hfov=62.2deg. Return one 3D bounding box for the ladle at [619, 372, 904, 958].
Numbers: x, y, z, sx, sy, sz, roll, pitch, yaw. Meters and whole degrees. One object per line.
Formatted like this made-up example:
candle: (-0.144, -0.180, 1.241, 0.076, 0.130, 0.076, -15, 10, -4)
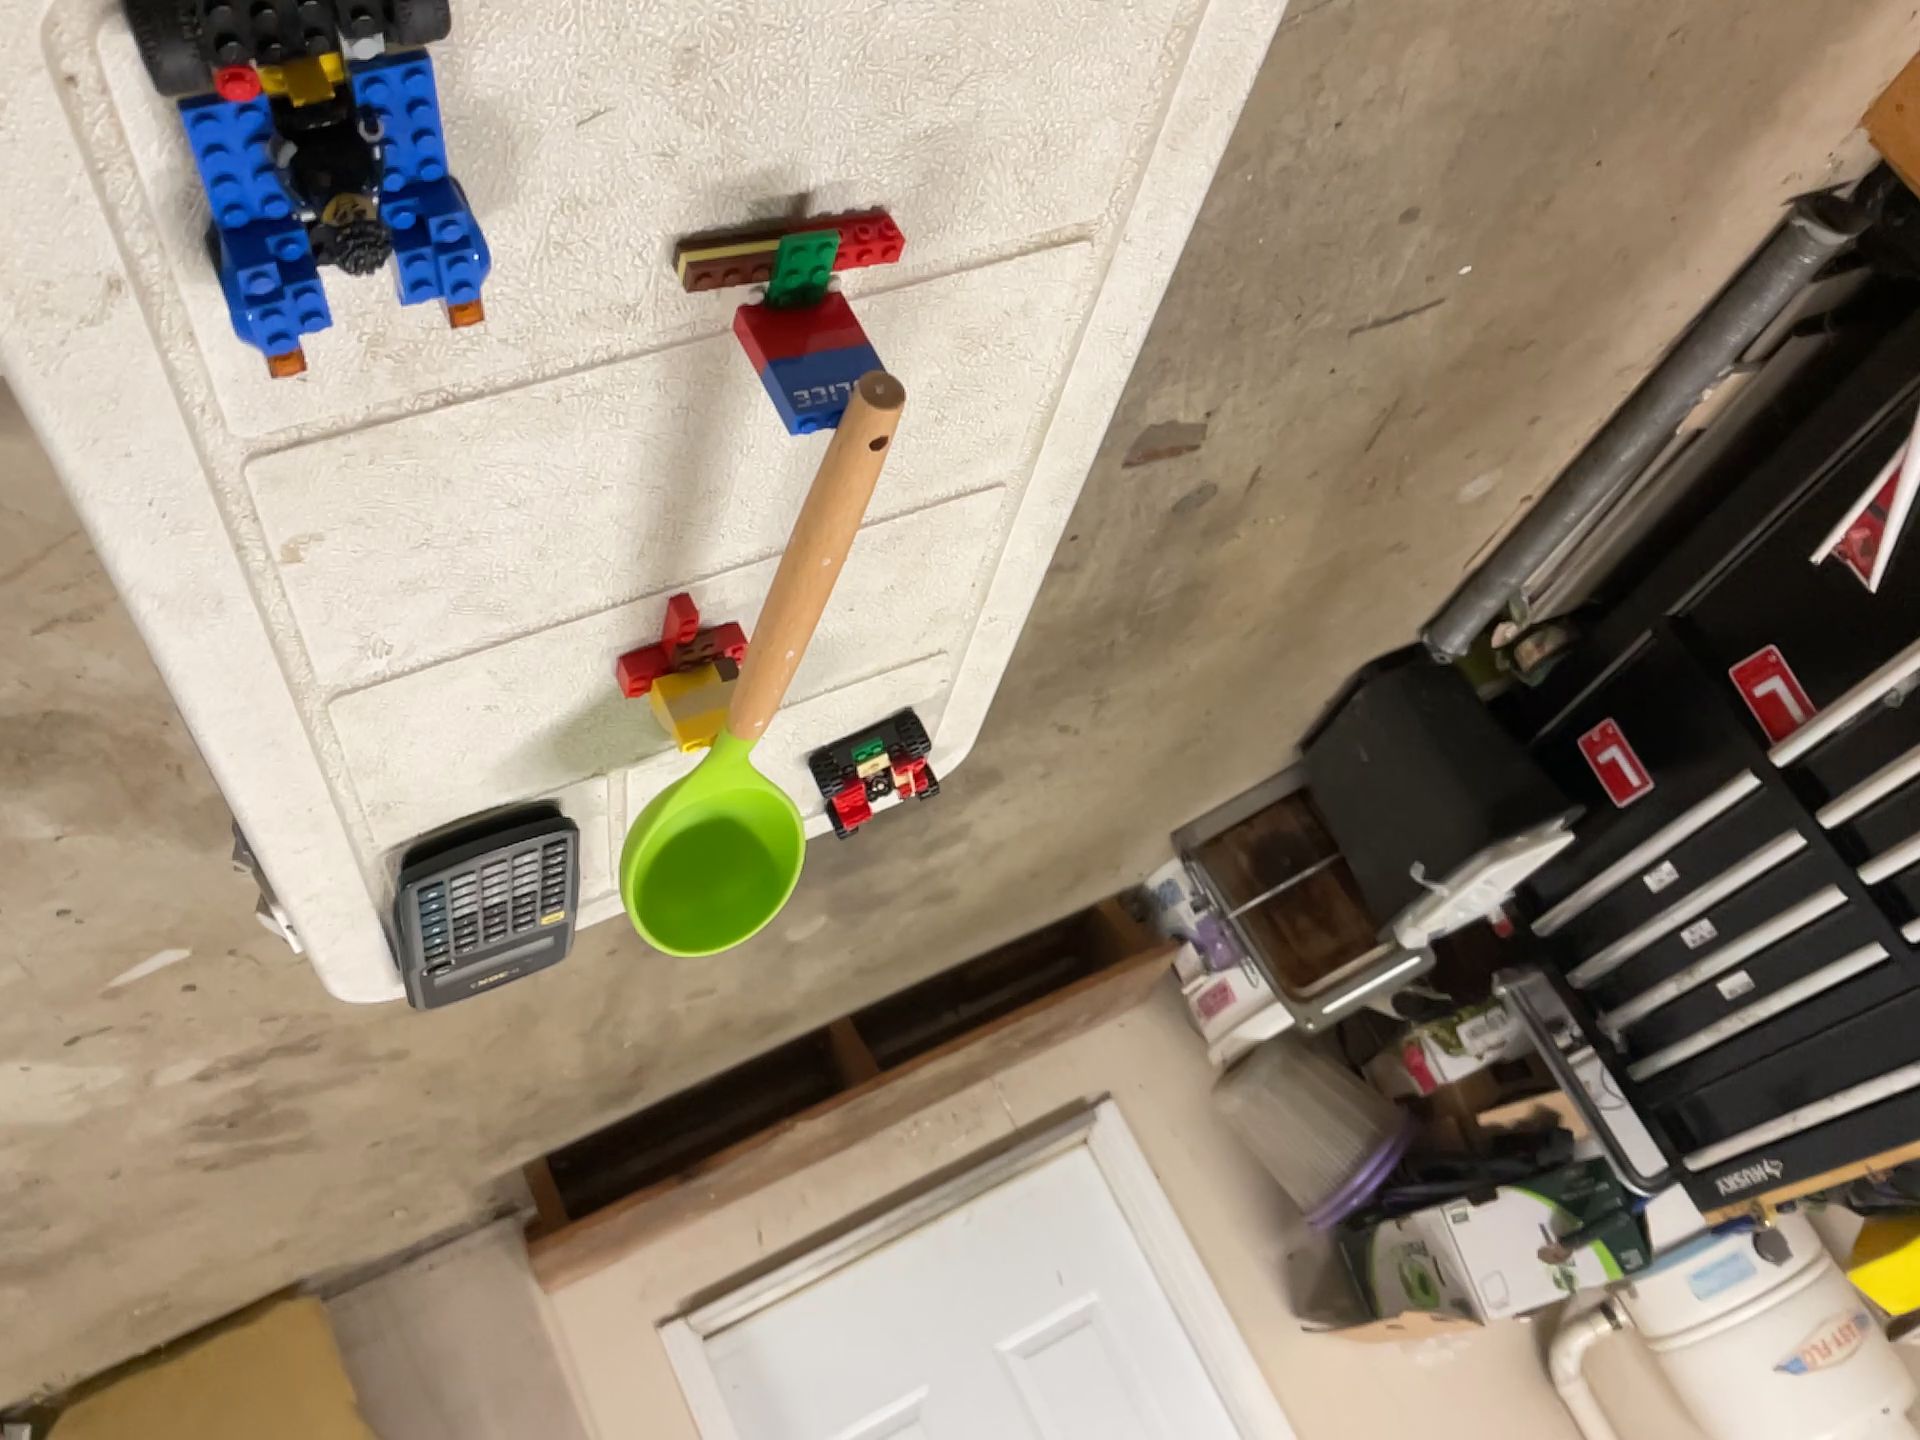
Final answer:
ladle: (-0.063, -0.001, 0.539, 0.078, 0.062, 0.320, -17, 159, -27)
